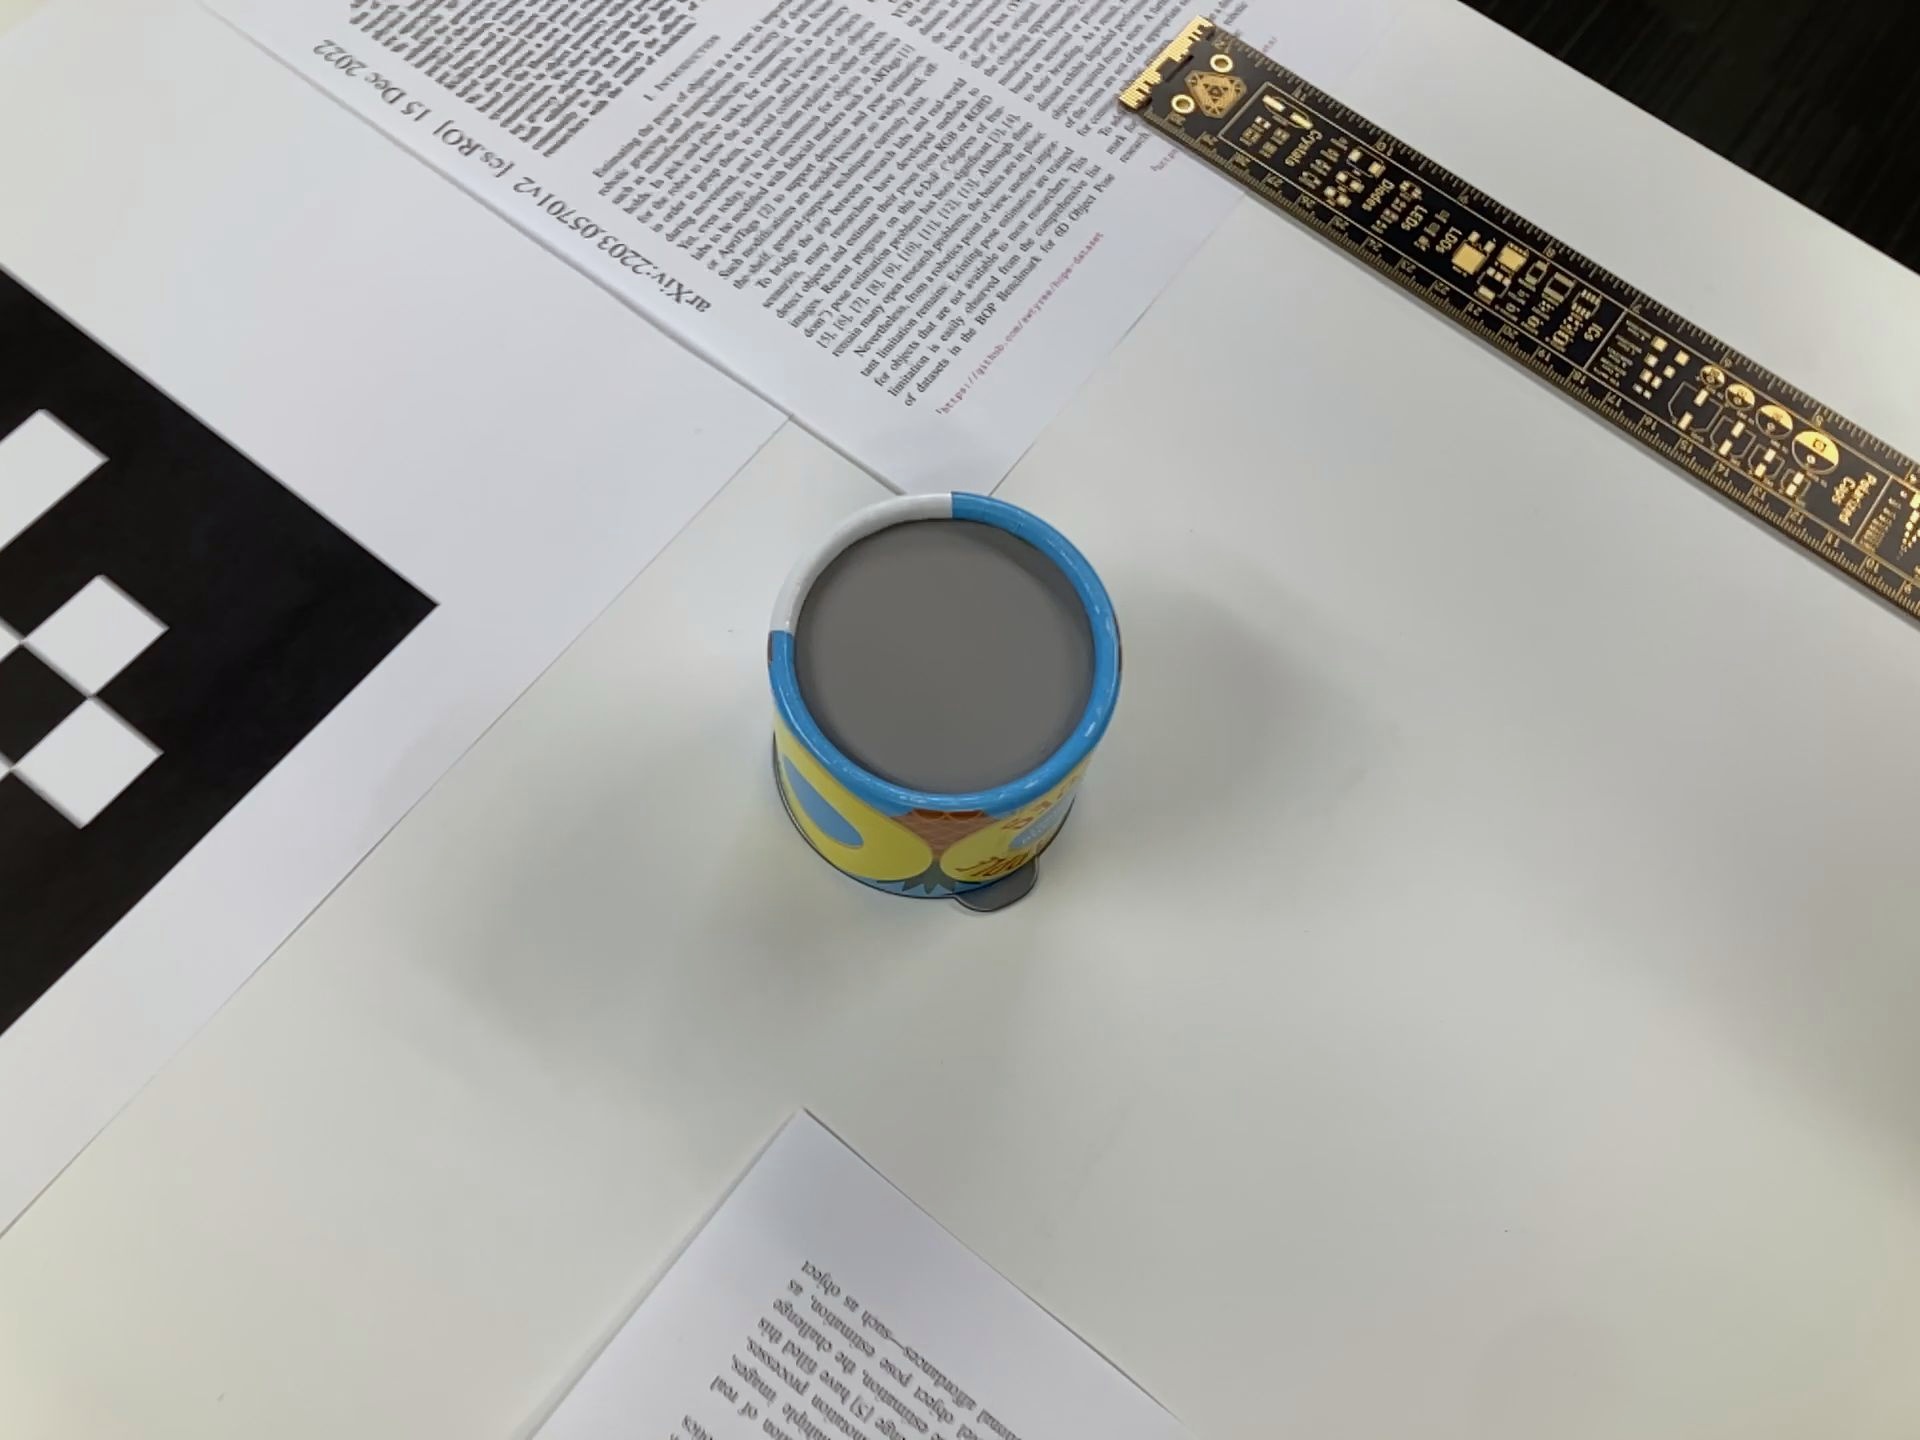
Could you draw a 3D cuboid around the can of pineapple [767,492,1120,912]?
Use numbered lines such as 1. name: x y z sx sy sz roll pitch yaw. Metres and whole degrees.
1. can of pineapple: -0.004 -0.002 0.316 0.071 0.058 0.071 2 69 -4
